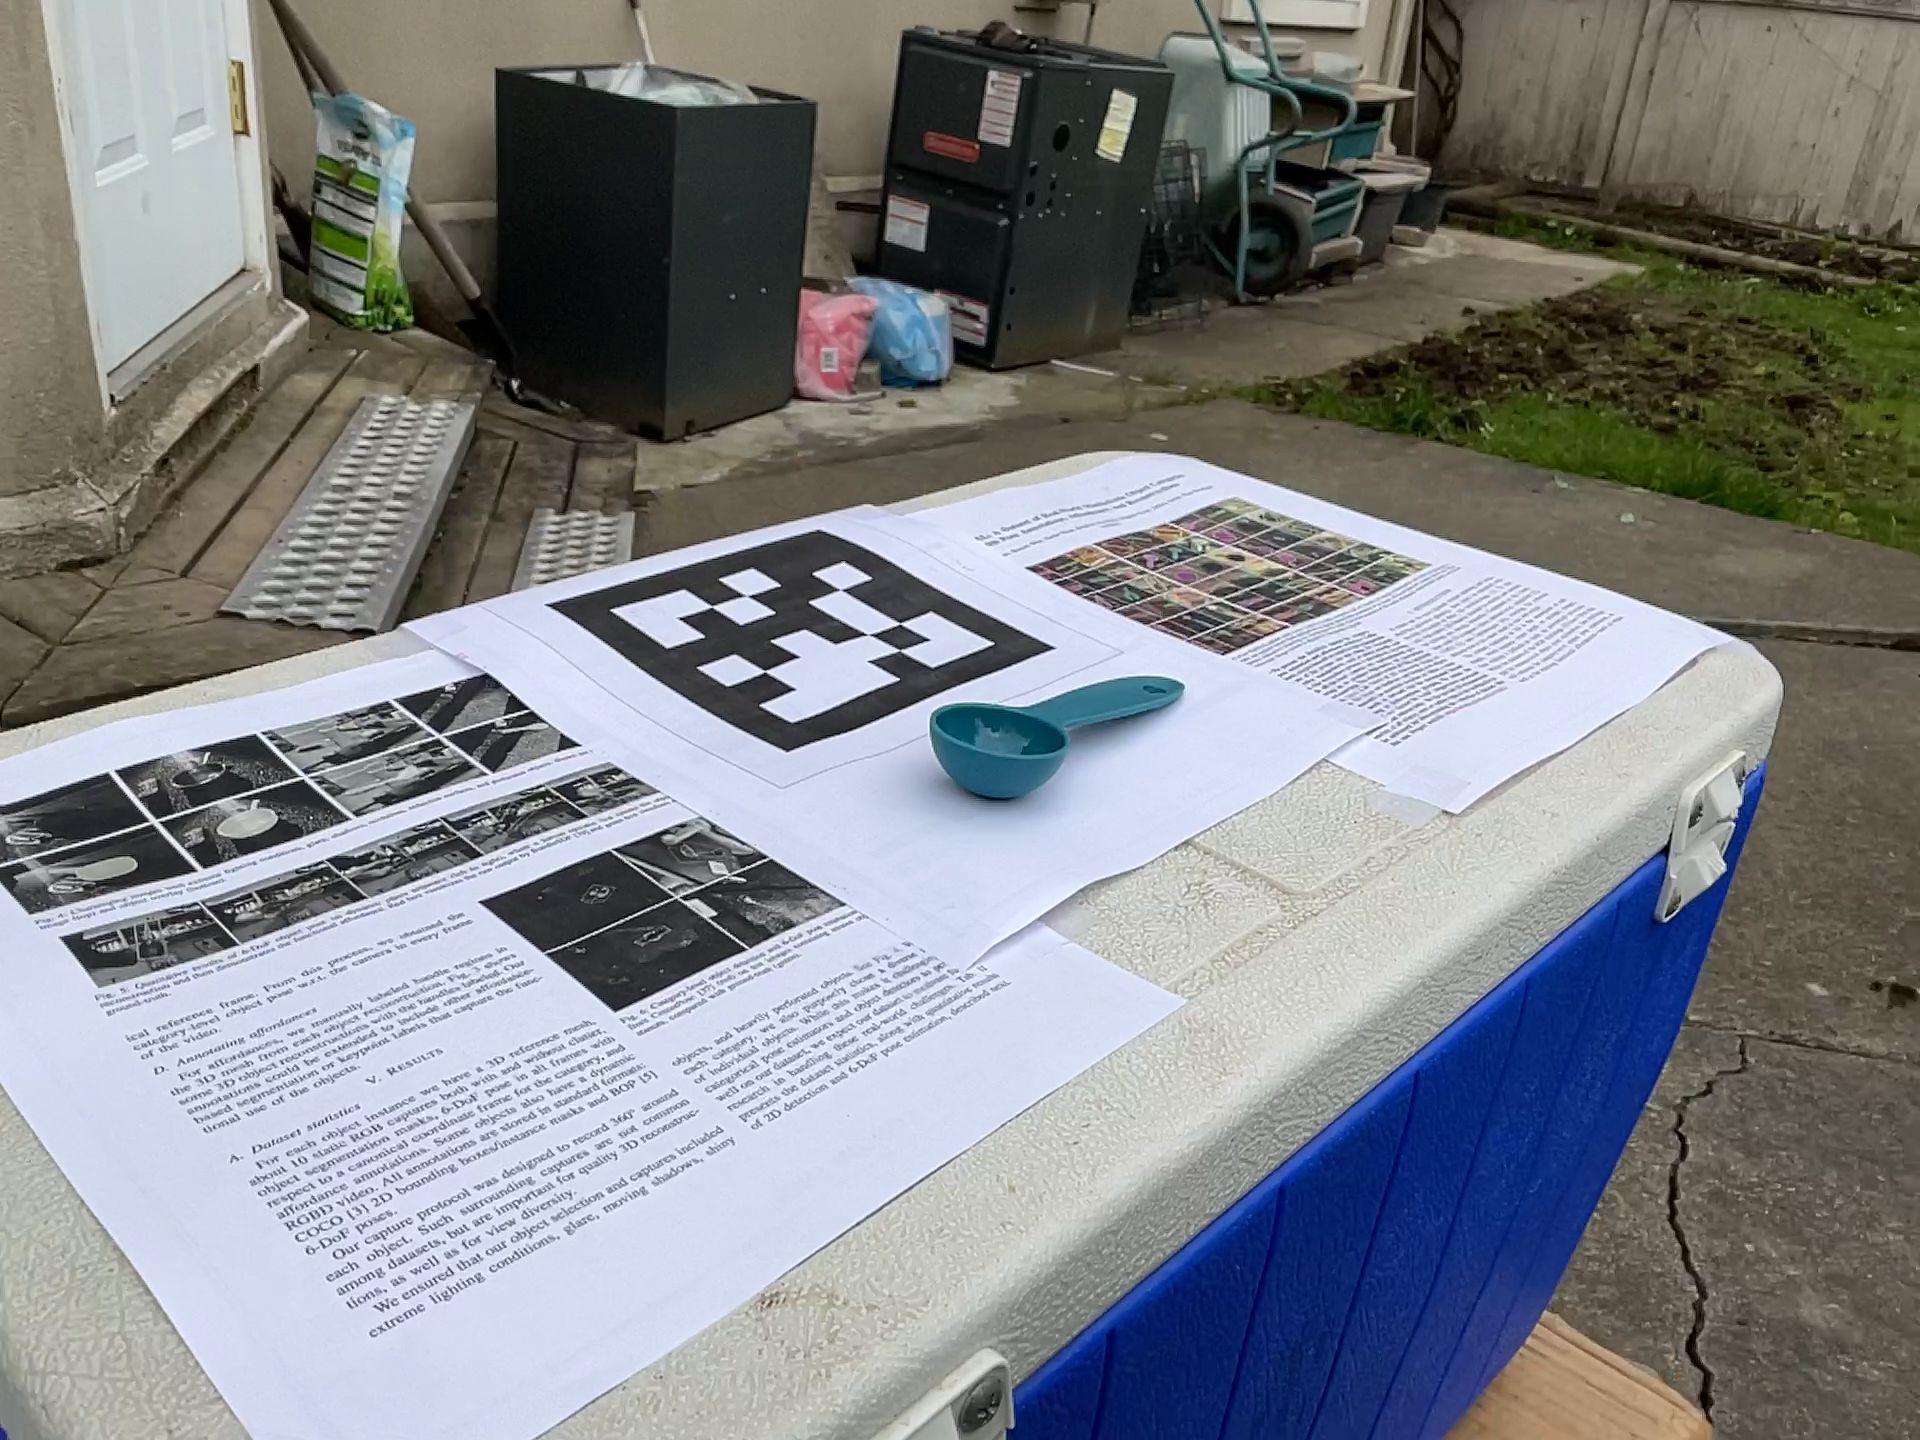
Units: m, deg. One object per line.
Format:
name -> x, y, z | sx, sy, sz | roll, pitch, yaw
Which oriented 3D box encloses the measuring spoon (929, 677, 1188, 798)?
measuring spoon -> 0.036, 0.005, 0.510 | 0.042, 0.021, 0.128 | 24, 22, 32
